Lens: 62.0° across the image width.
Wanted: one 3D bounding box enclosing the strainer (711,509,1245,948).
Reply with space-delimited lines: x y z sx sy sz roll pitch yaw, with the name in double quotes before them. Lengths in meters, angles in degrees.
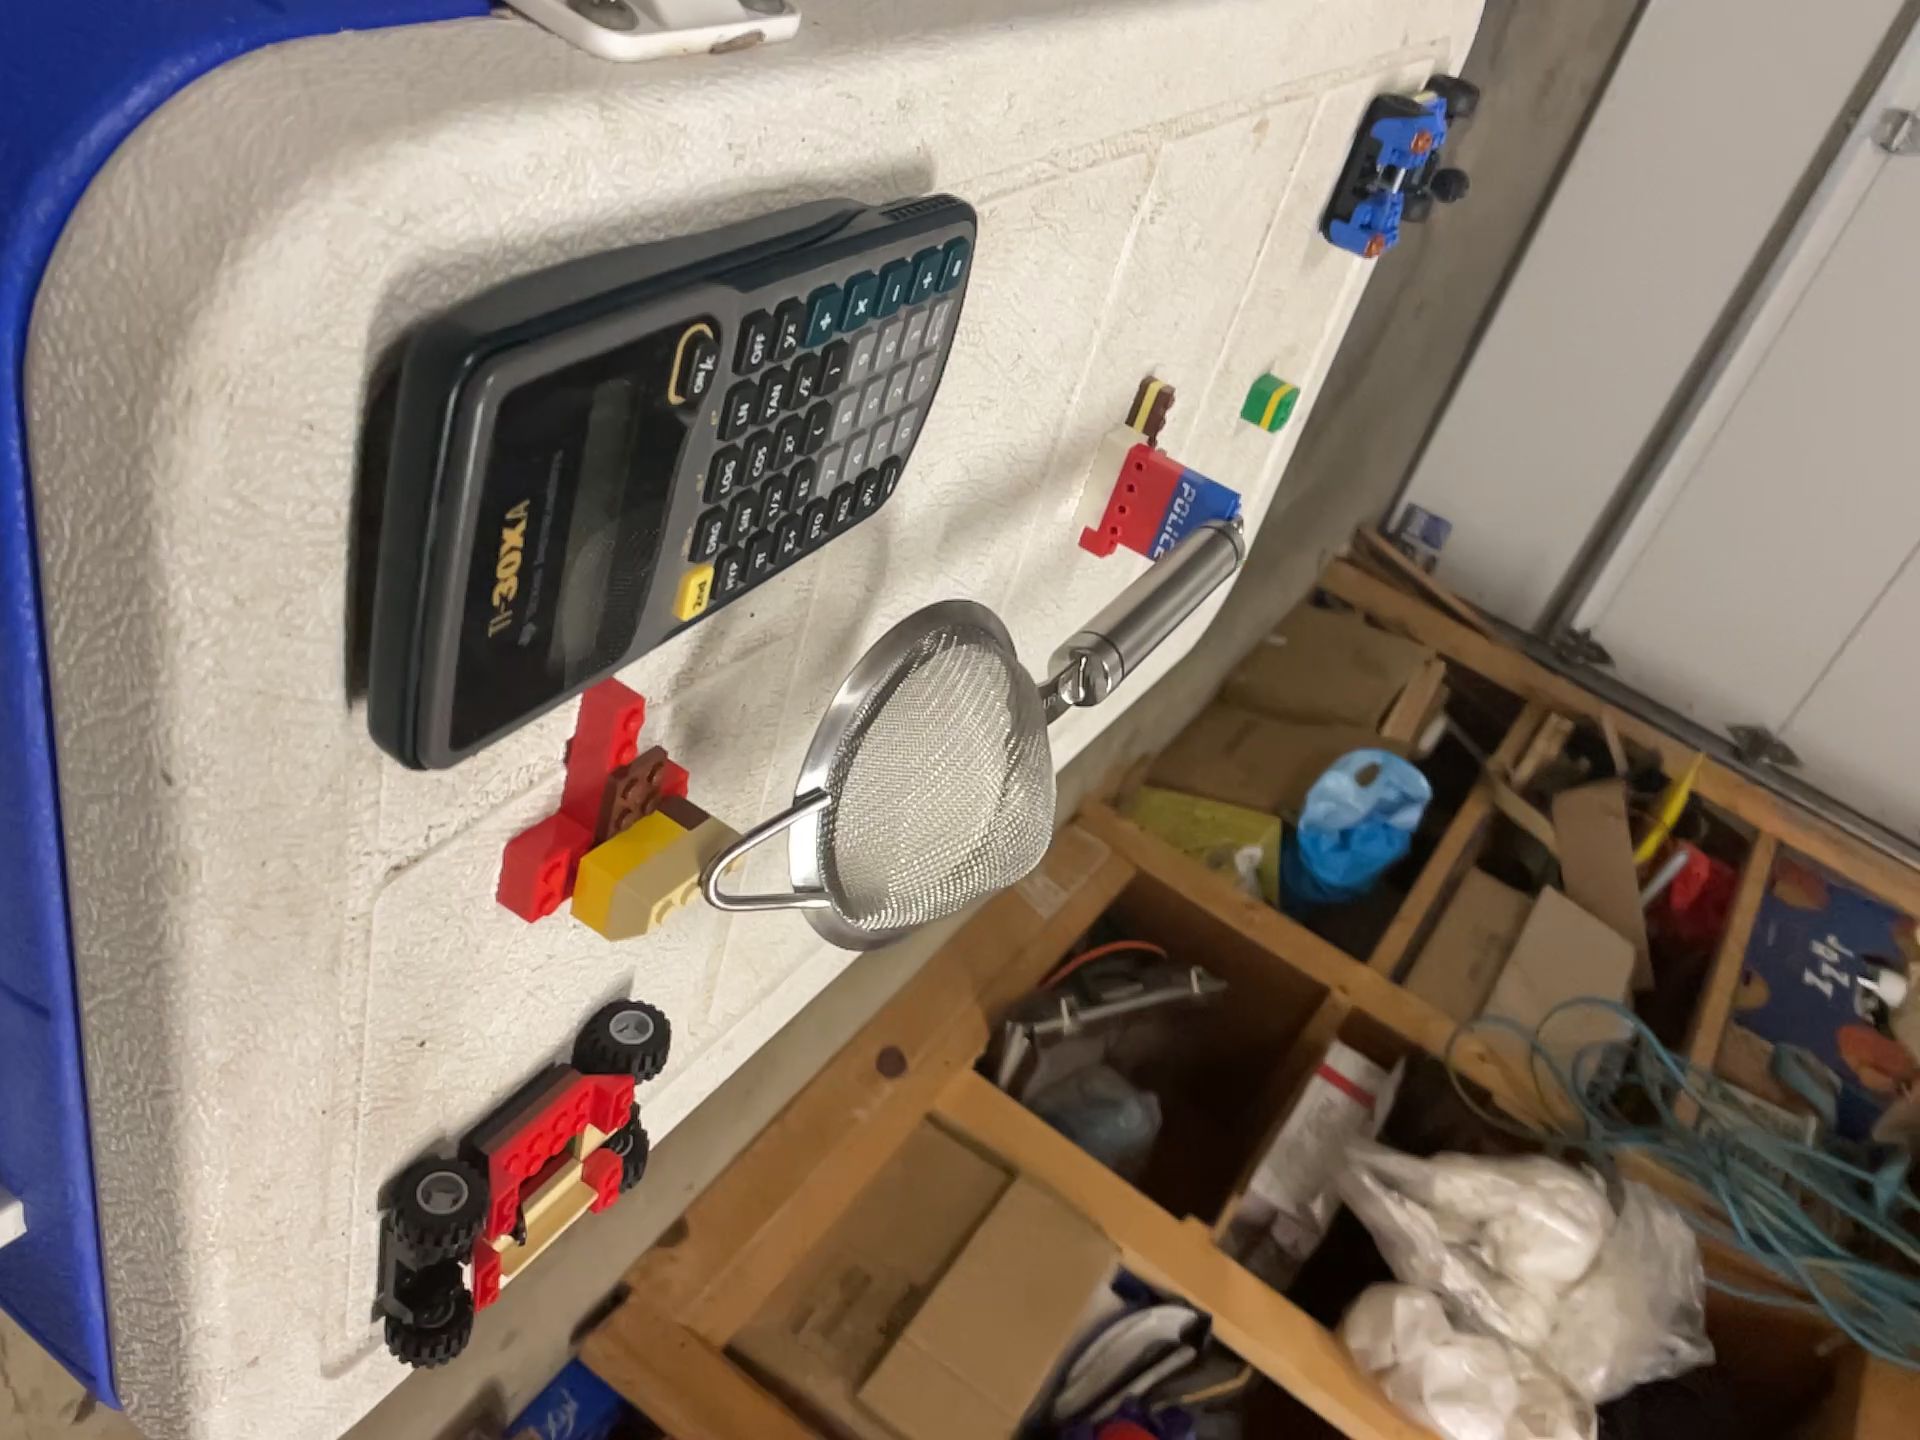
"strainer" 0.031 -0.013 0.420 0.258 0.050 0.086 -41 139 -51
